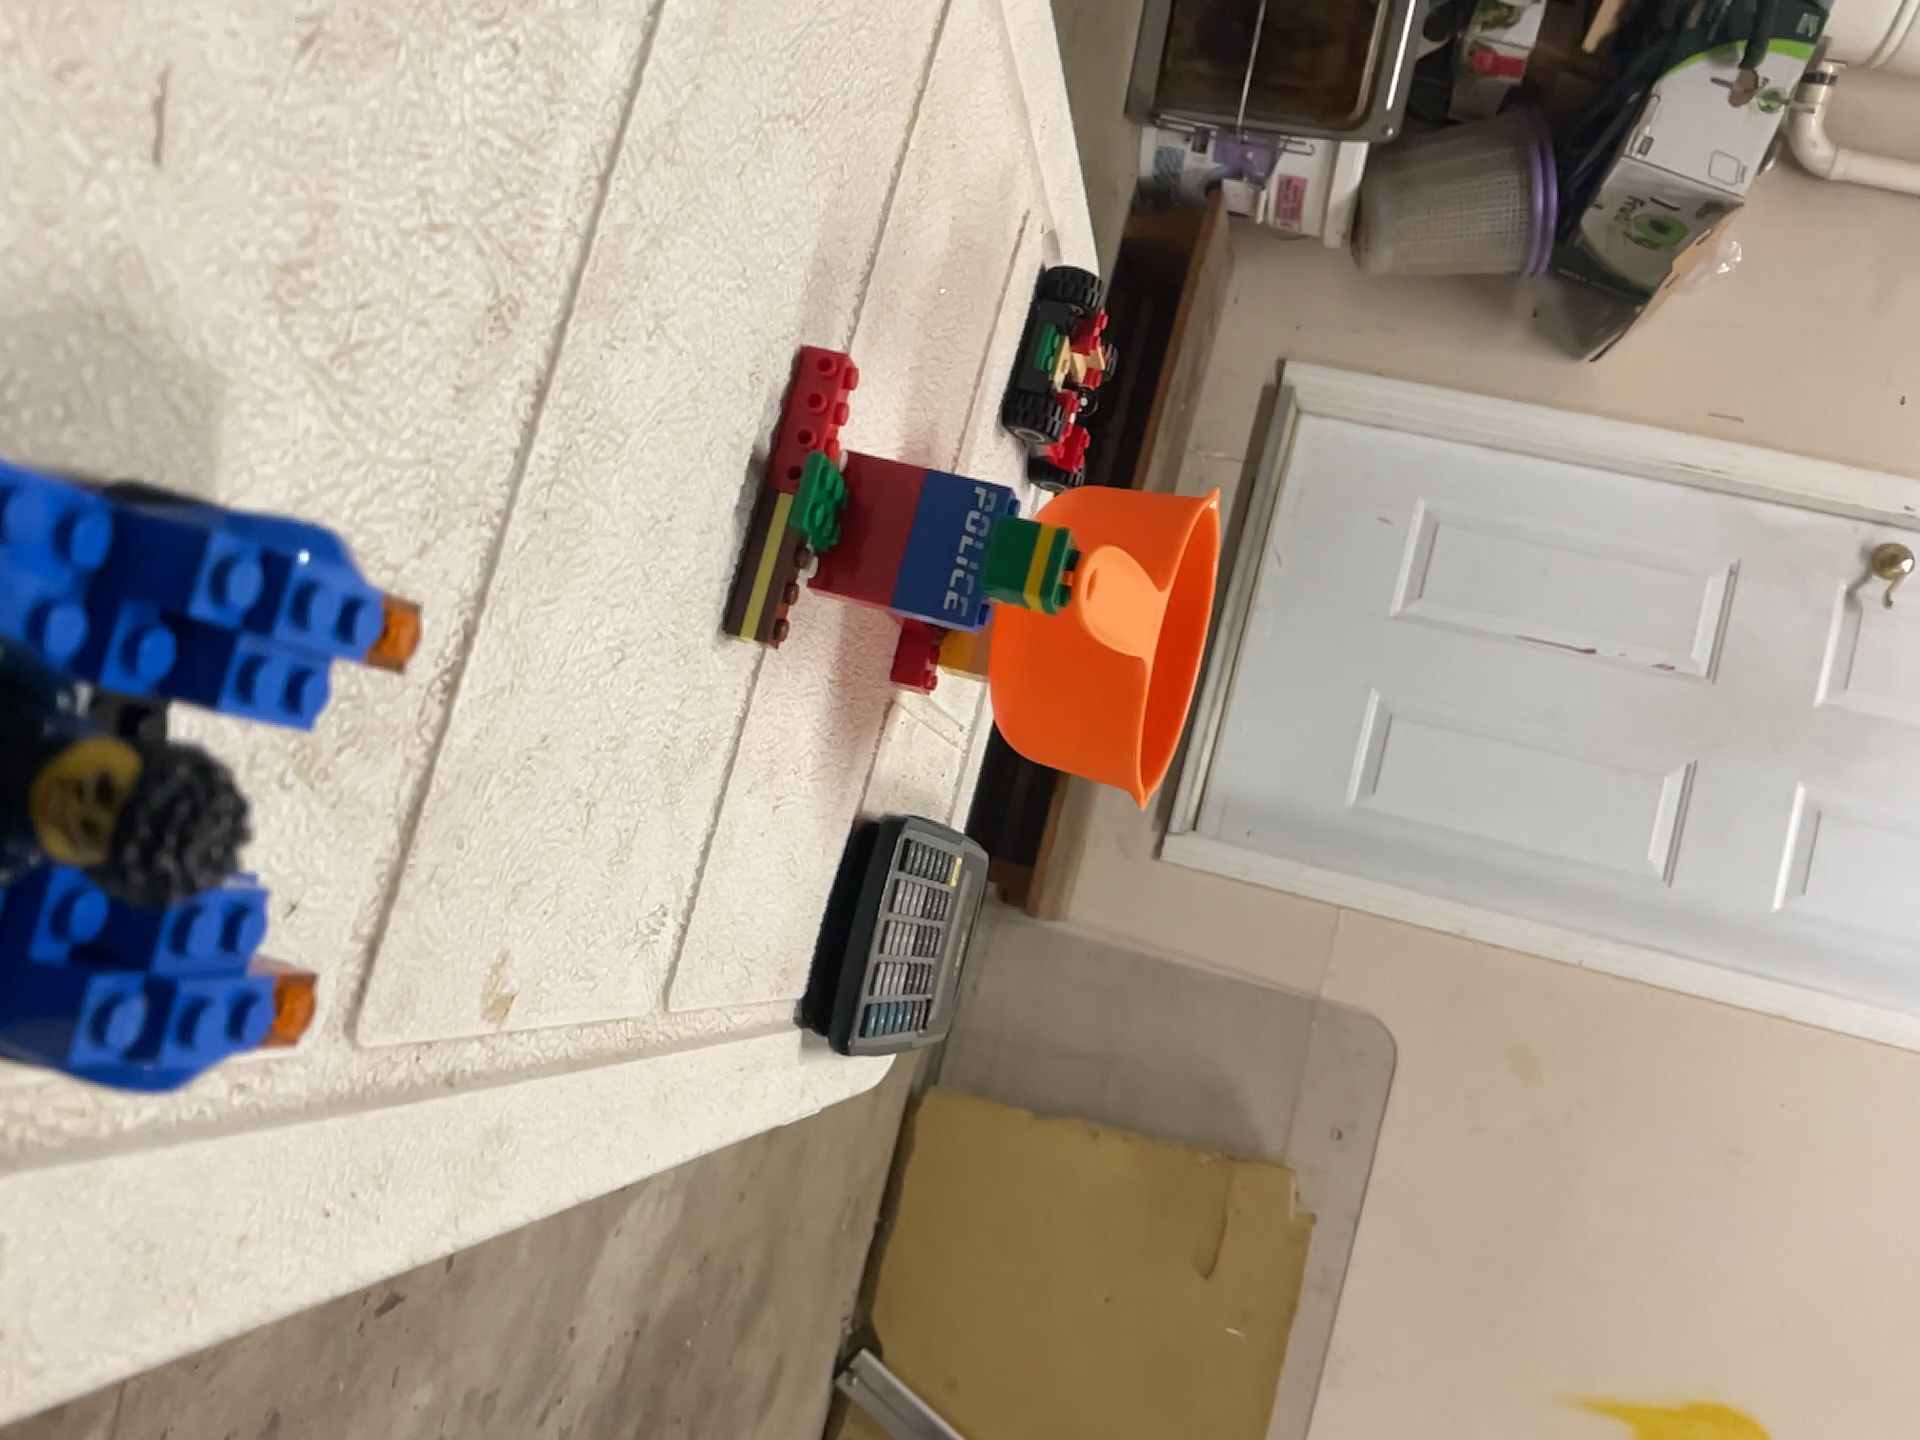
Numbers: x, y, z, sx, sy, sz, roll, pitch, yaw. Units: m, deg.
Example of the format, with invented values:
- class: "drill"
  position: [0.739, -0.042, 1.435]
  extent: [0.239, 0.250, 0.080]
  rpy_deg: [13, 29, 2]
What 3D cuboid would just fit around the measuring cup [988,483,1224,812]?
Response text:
- class: "measuring cup"
  position: [0.030, -0.029, 0.426]
  extent: [0.173, 0.052, 0.095]
  rpy_deg: [16, 87, -73]
